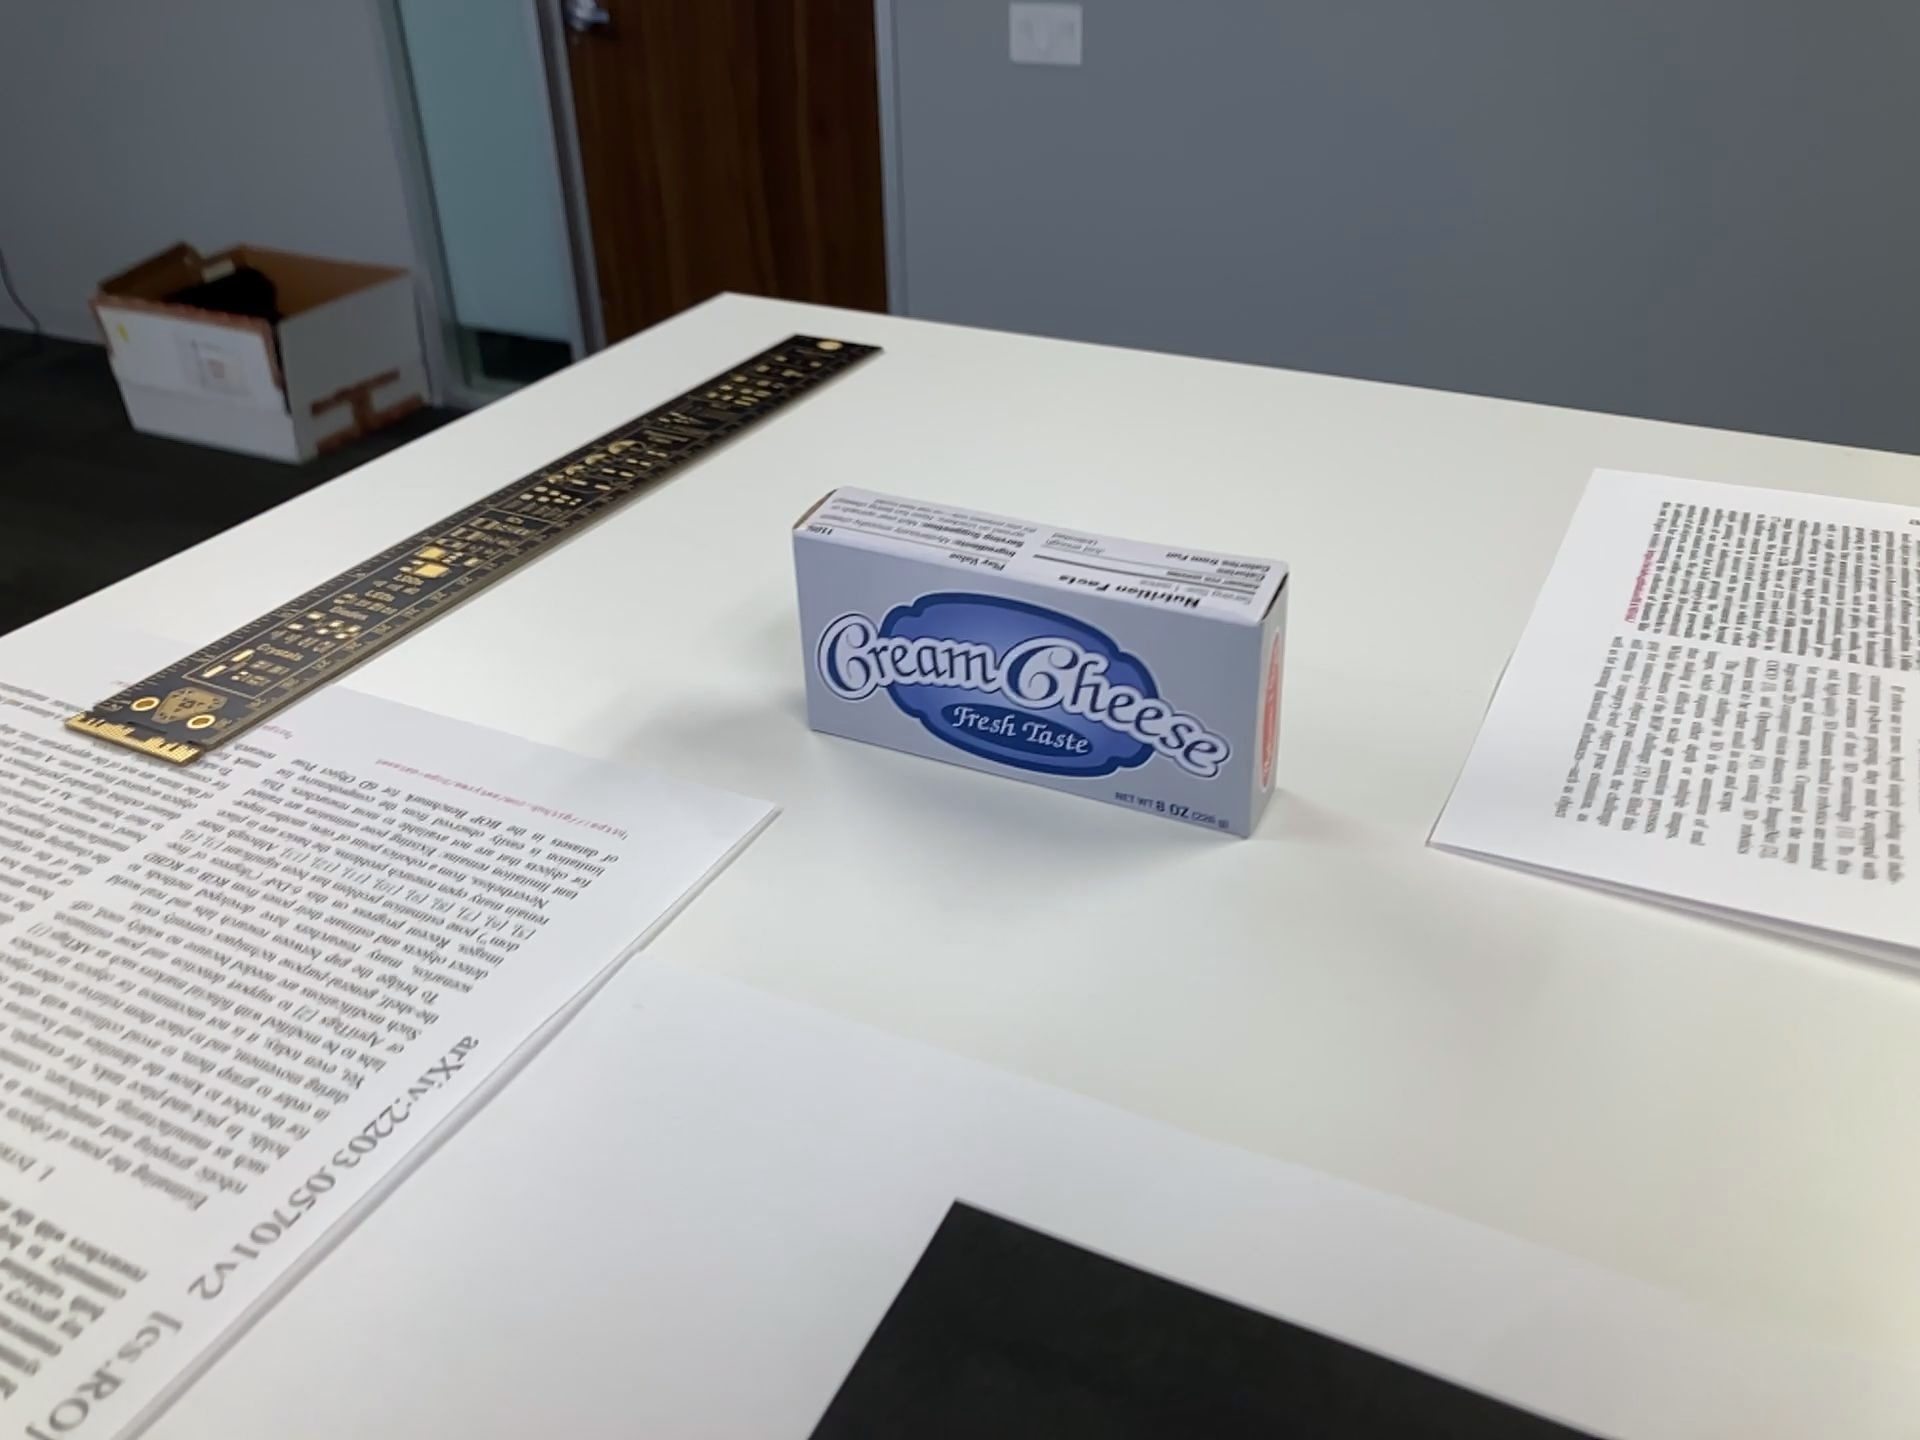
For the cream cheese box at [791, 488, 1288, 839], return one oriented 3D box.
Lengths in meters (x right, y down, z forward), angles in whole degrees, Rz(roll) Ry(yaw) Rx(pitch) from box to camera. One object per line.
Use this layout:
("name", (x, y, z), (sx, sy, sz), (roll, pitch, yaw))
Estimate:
("cream cheese box", (0.015, -0.014, 0.332), (0.104, 0.053, 0.024), (13, 36, 22))
